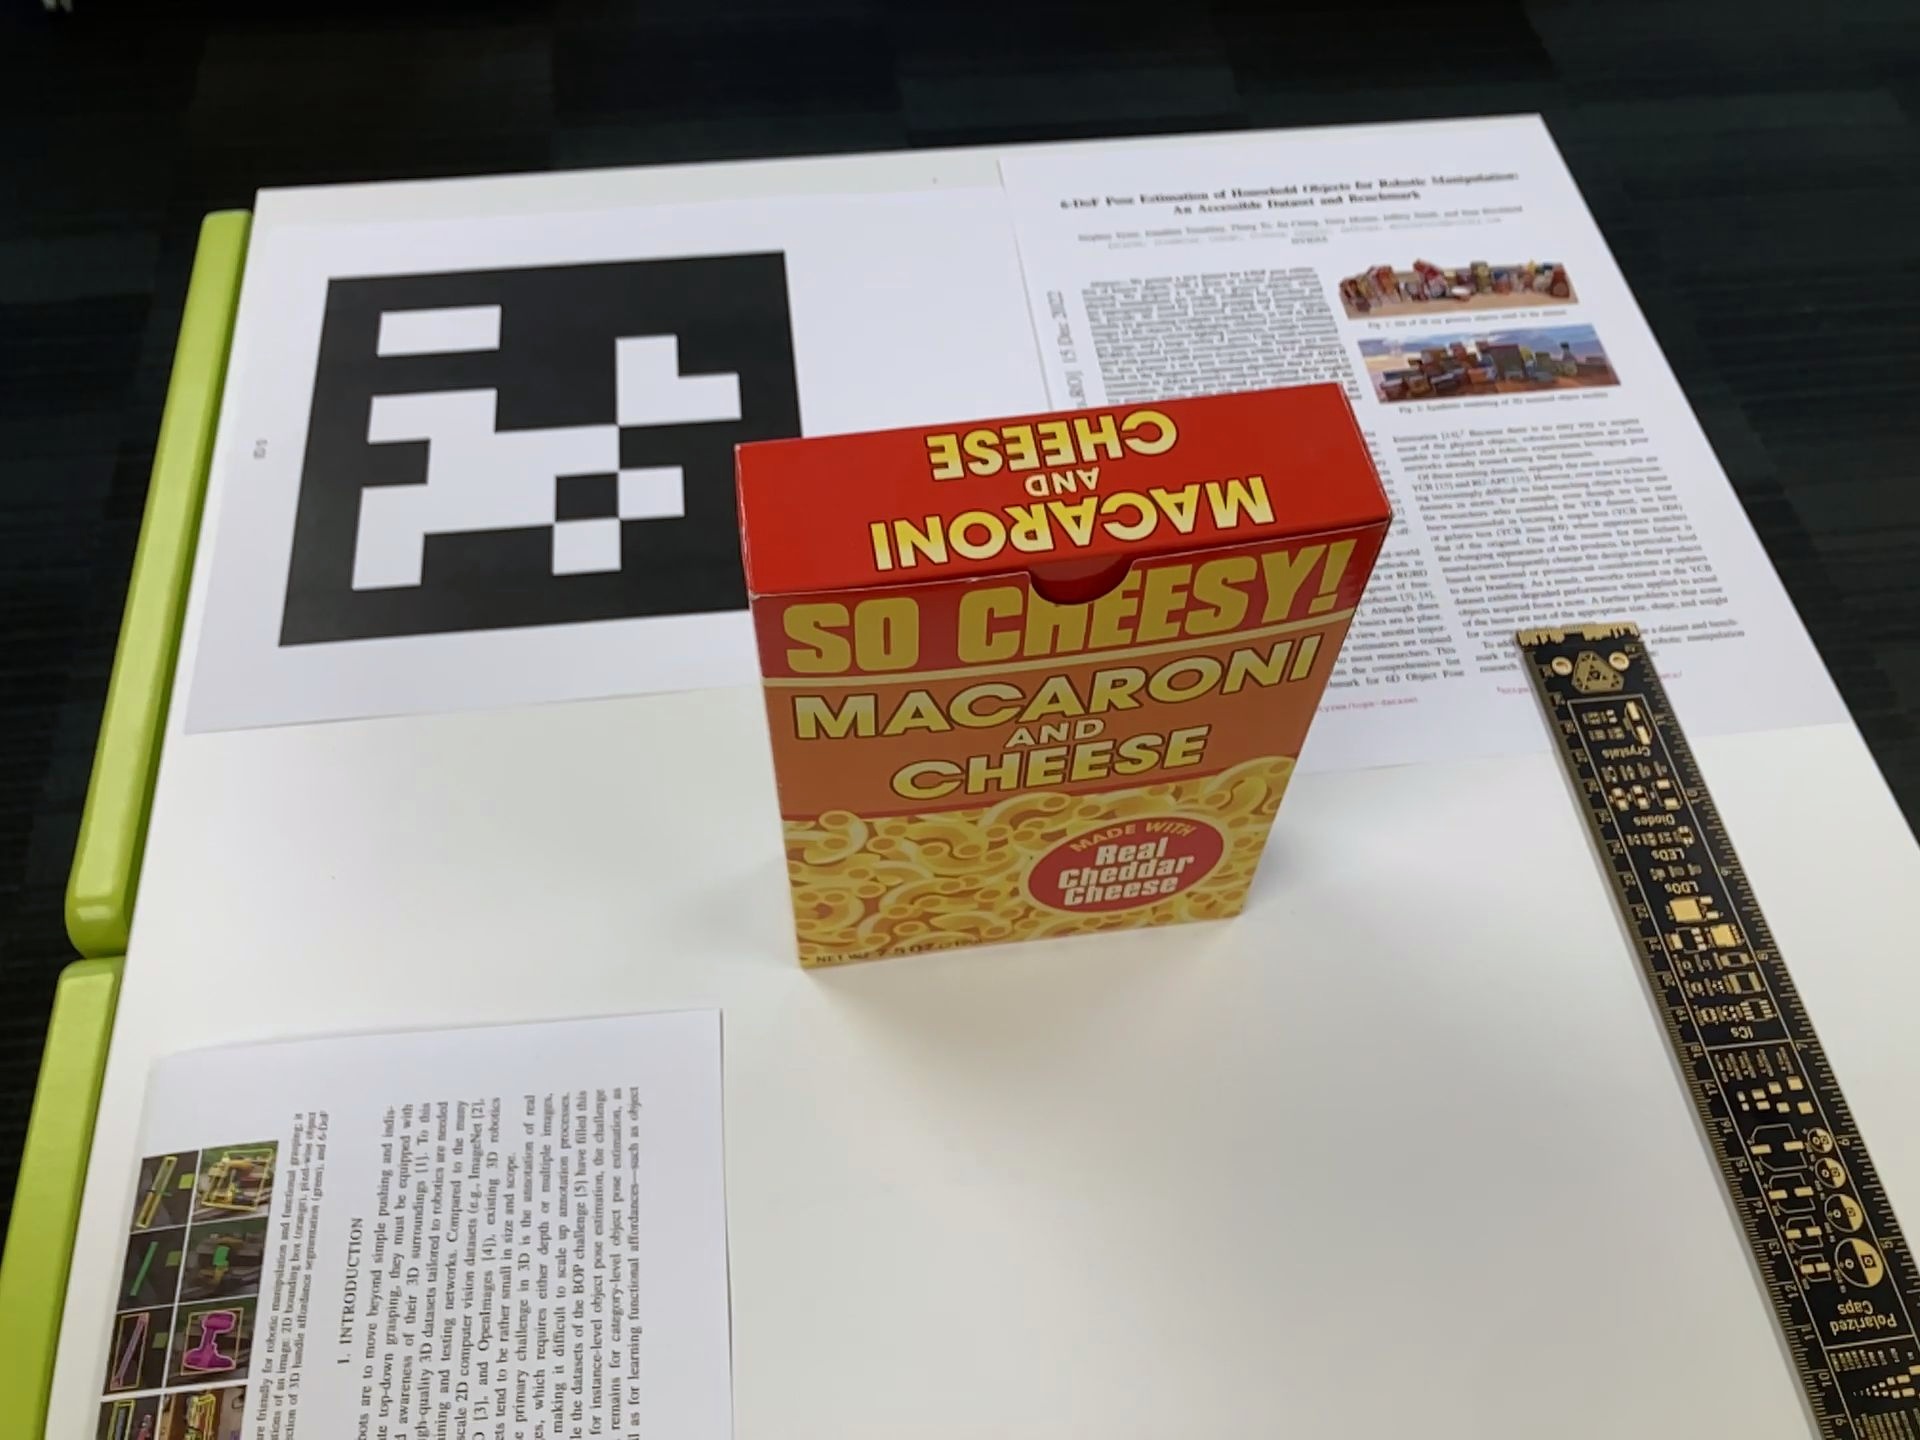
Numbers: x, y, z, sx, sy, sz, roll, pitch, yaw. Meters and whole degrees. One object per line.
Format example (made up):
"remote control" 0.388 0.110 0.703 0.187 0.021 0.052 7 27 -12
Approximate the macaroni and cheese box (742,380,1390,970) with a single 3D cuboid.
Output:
"macaroni and cheese box" 0.018 0.000 0.373 0.124 0.166 0.040 -8 57 -7
